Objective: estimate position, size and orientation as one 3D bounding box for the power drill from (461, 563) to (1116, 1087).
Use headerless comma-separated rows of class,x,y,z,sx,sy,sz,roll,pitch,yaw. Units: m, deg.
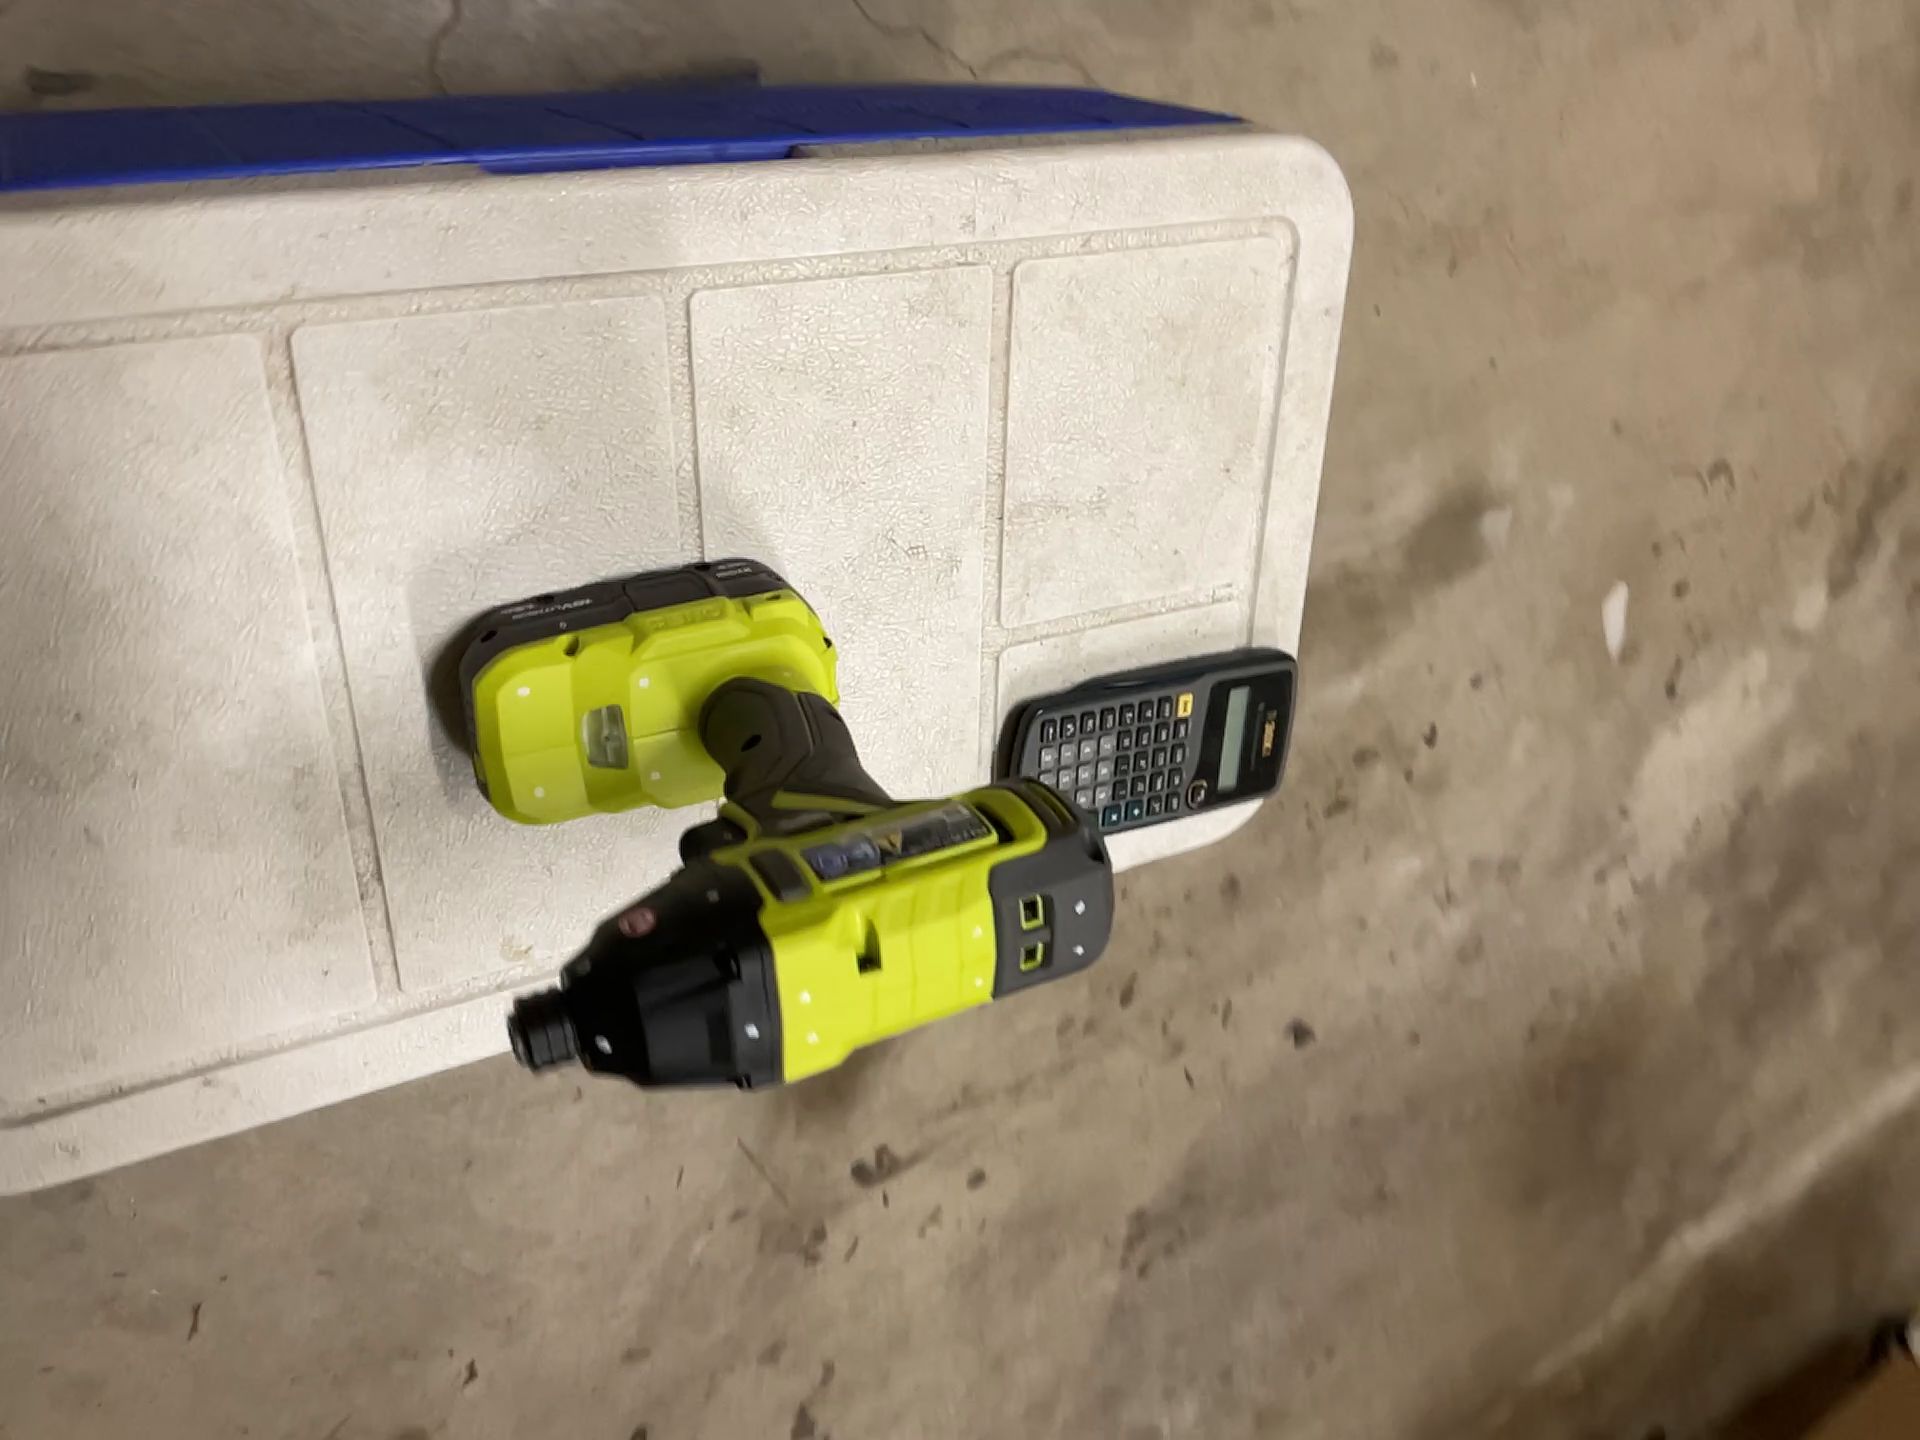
power drill,-0.079,0.029,0.519,0.171,0.223,0.080,-14,120,-23
